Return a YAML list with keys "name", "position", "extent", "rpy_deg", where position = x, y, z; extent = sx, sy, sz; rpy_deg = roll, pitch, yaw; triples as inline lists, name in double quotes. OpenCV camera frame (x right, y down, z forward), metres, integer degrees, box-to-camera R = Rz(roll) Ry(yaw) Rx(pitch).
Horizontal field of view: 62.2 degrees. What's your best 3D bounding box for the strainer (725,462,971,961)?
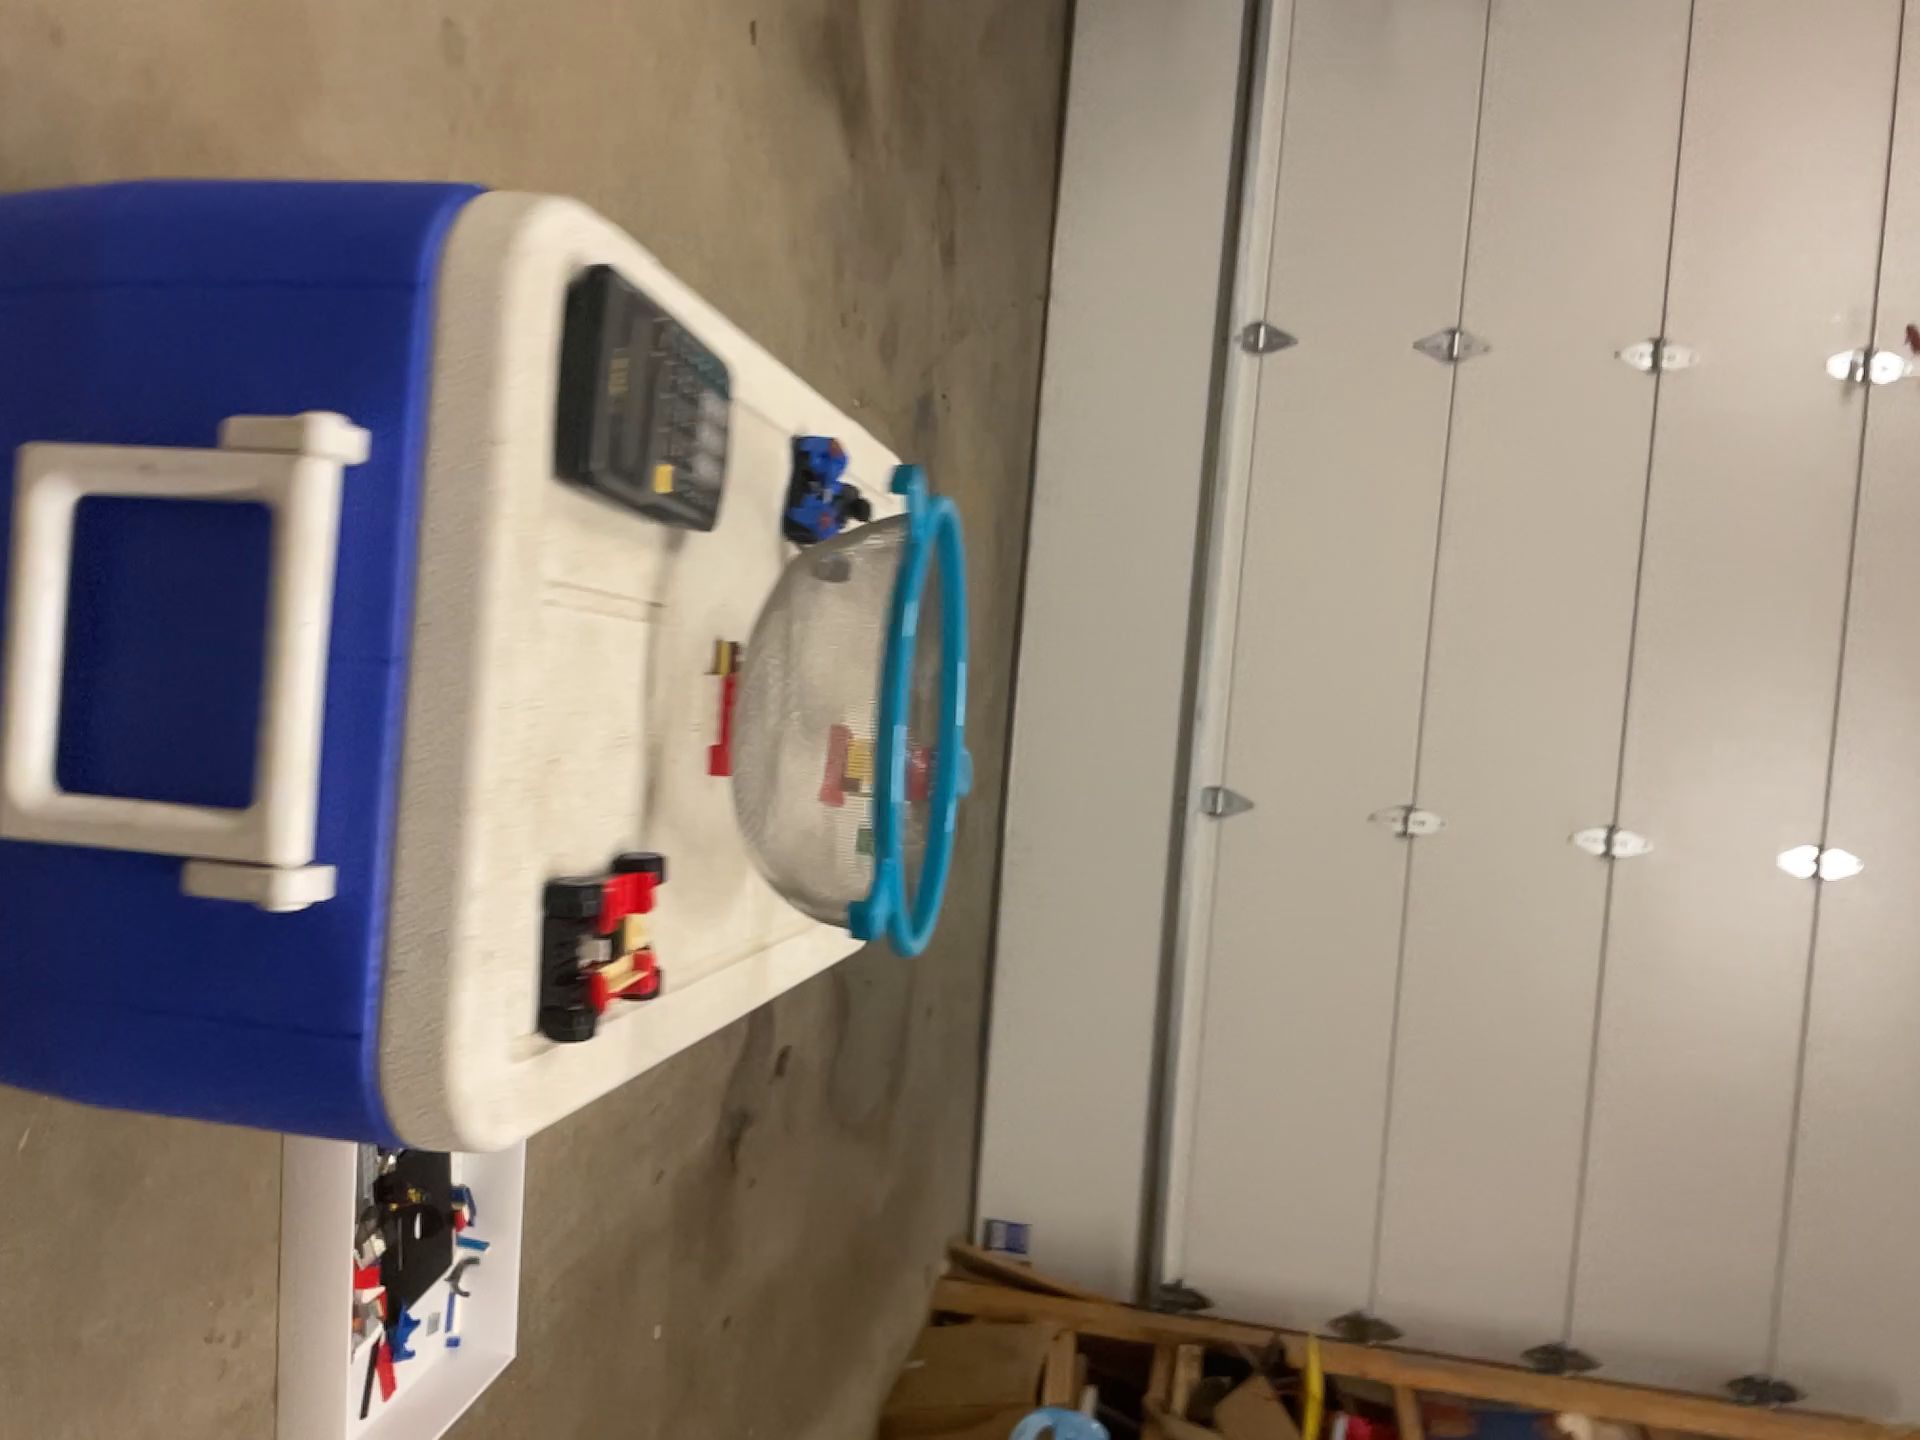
- name: "strainer"
  position: [-0.049, 0.008, 0.787]
  extent: [0.340, 0.095, 0.211]
  rpy_deg: [60, 34, -81]
